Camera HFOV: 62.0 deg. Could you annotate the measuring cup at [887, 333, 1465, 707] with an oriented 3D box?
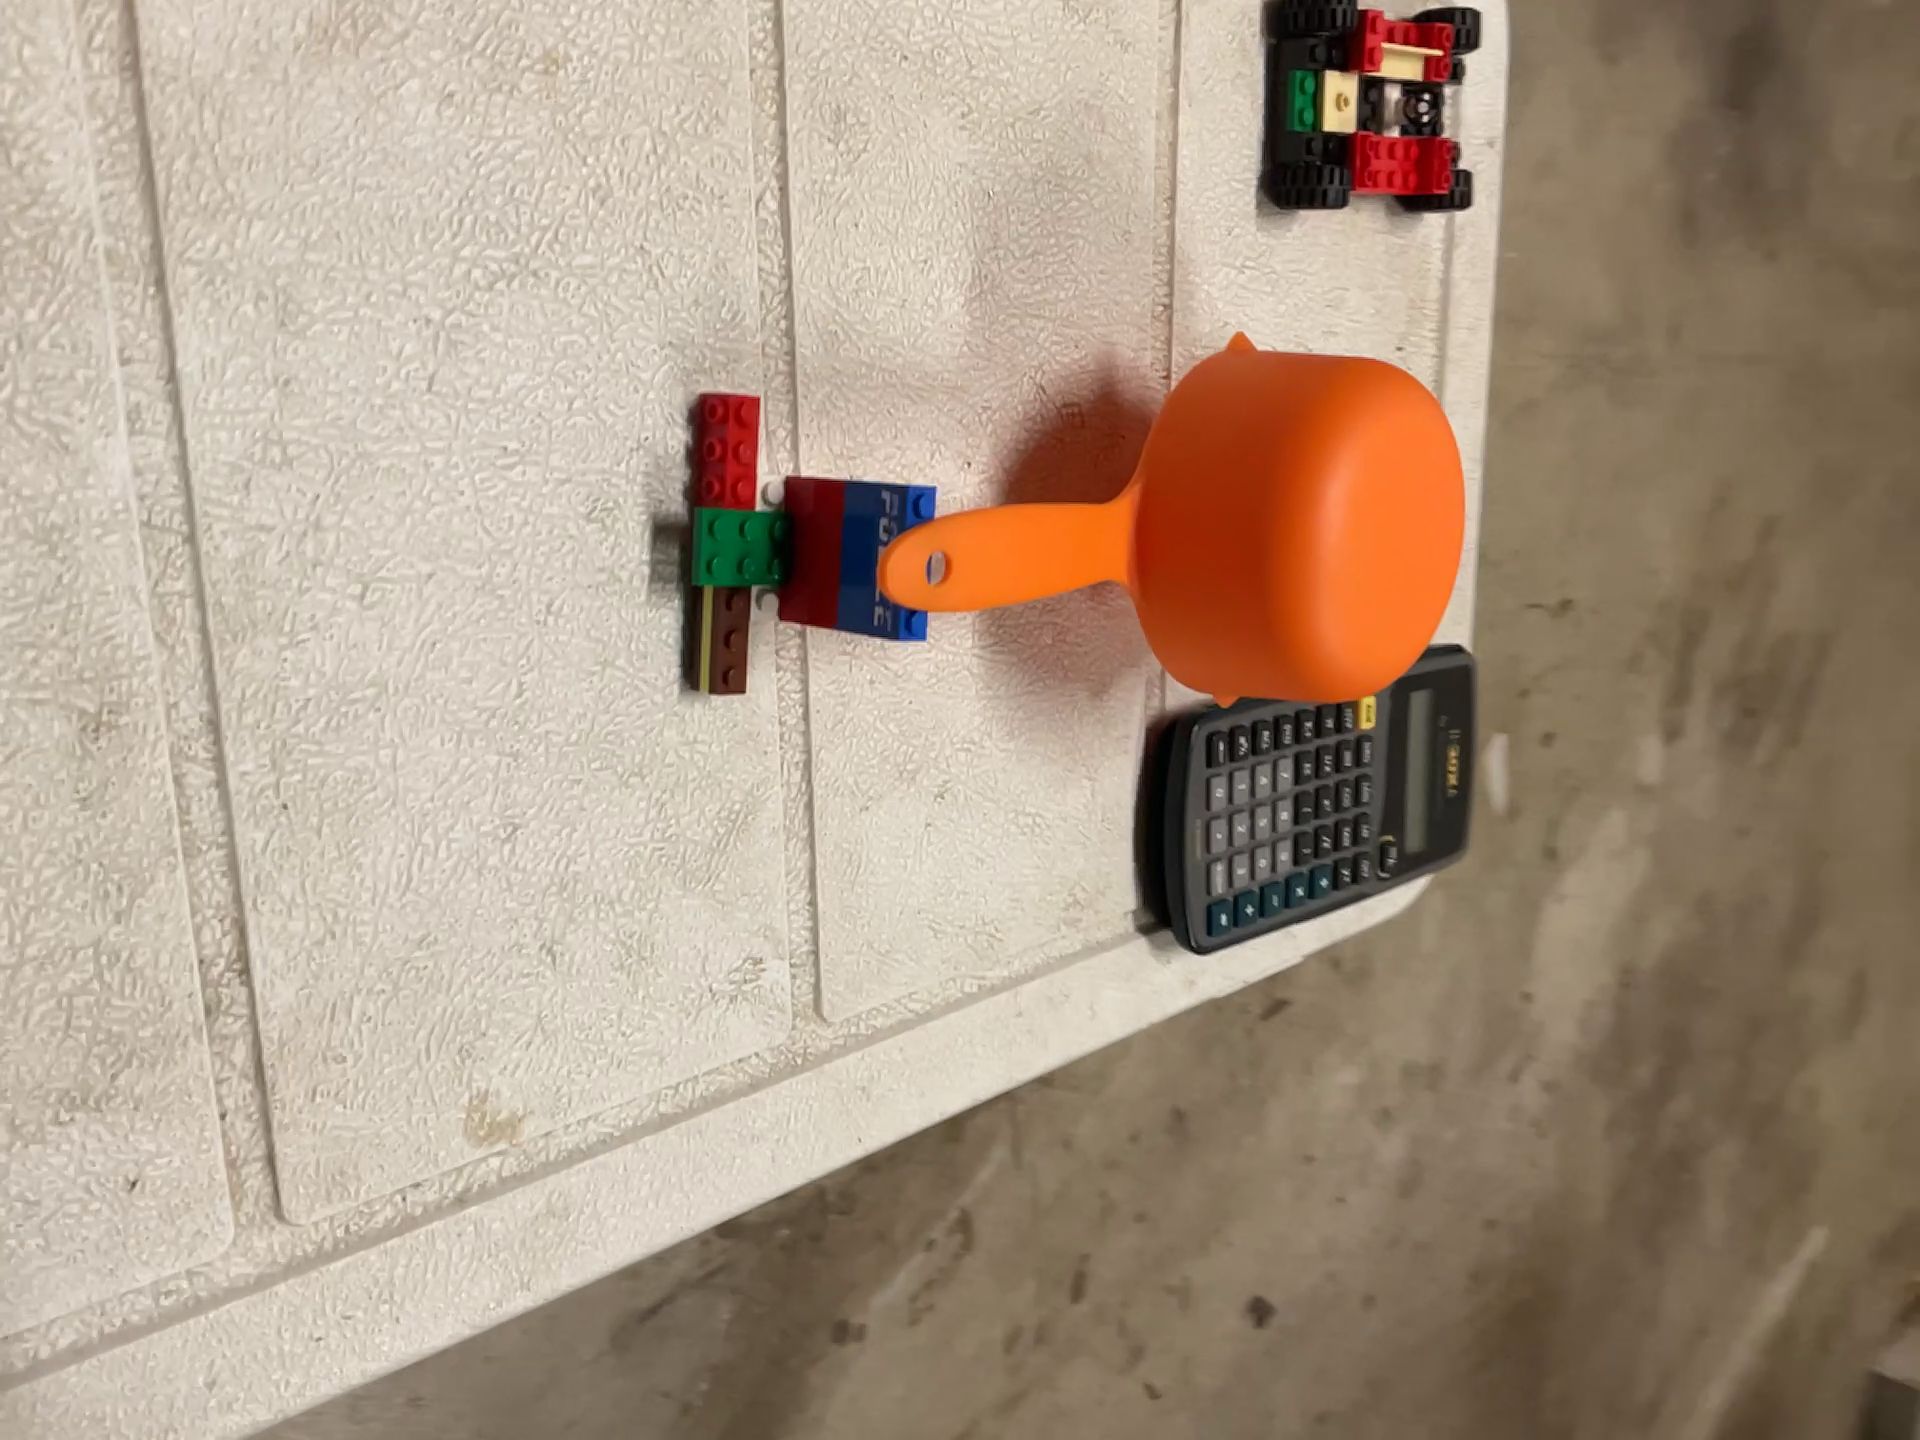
[{"bbox_3d":[0.059,-0.040,0.362,0.173,0.052,0.095,-13,108,-48],"label":"measuring cup"}]
